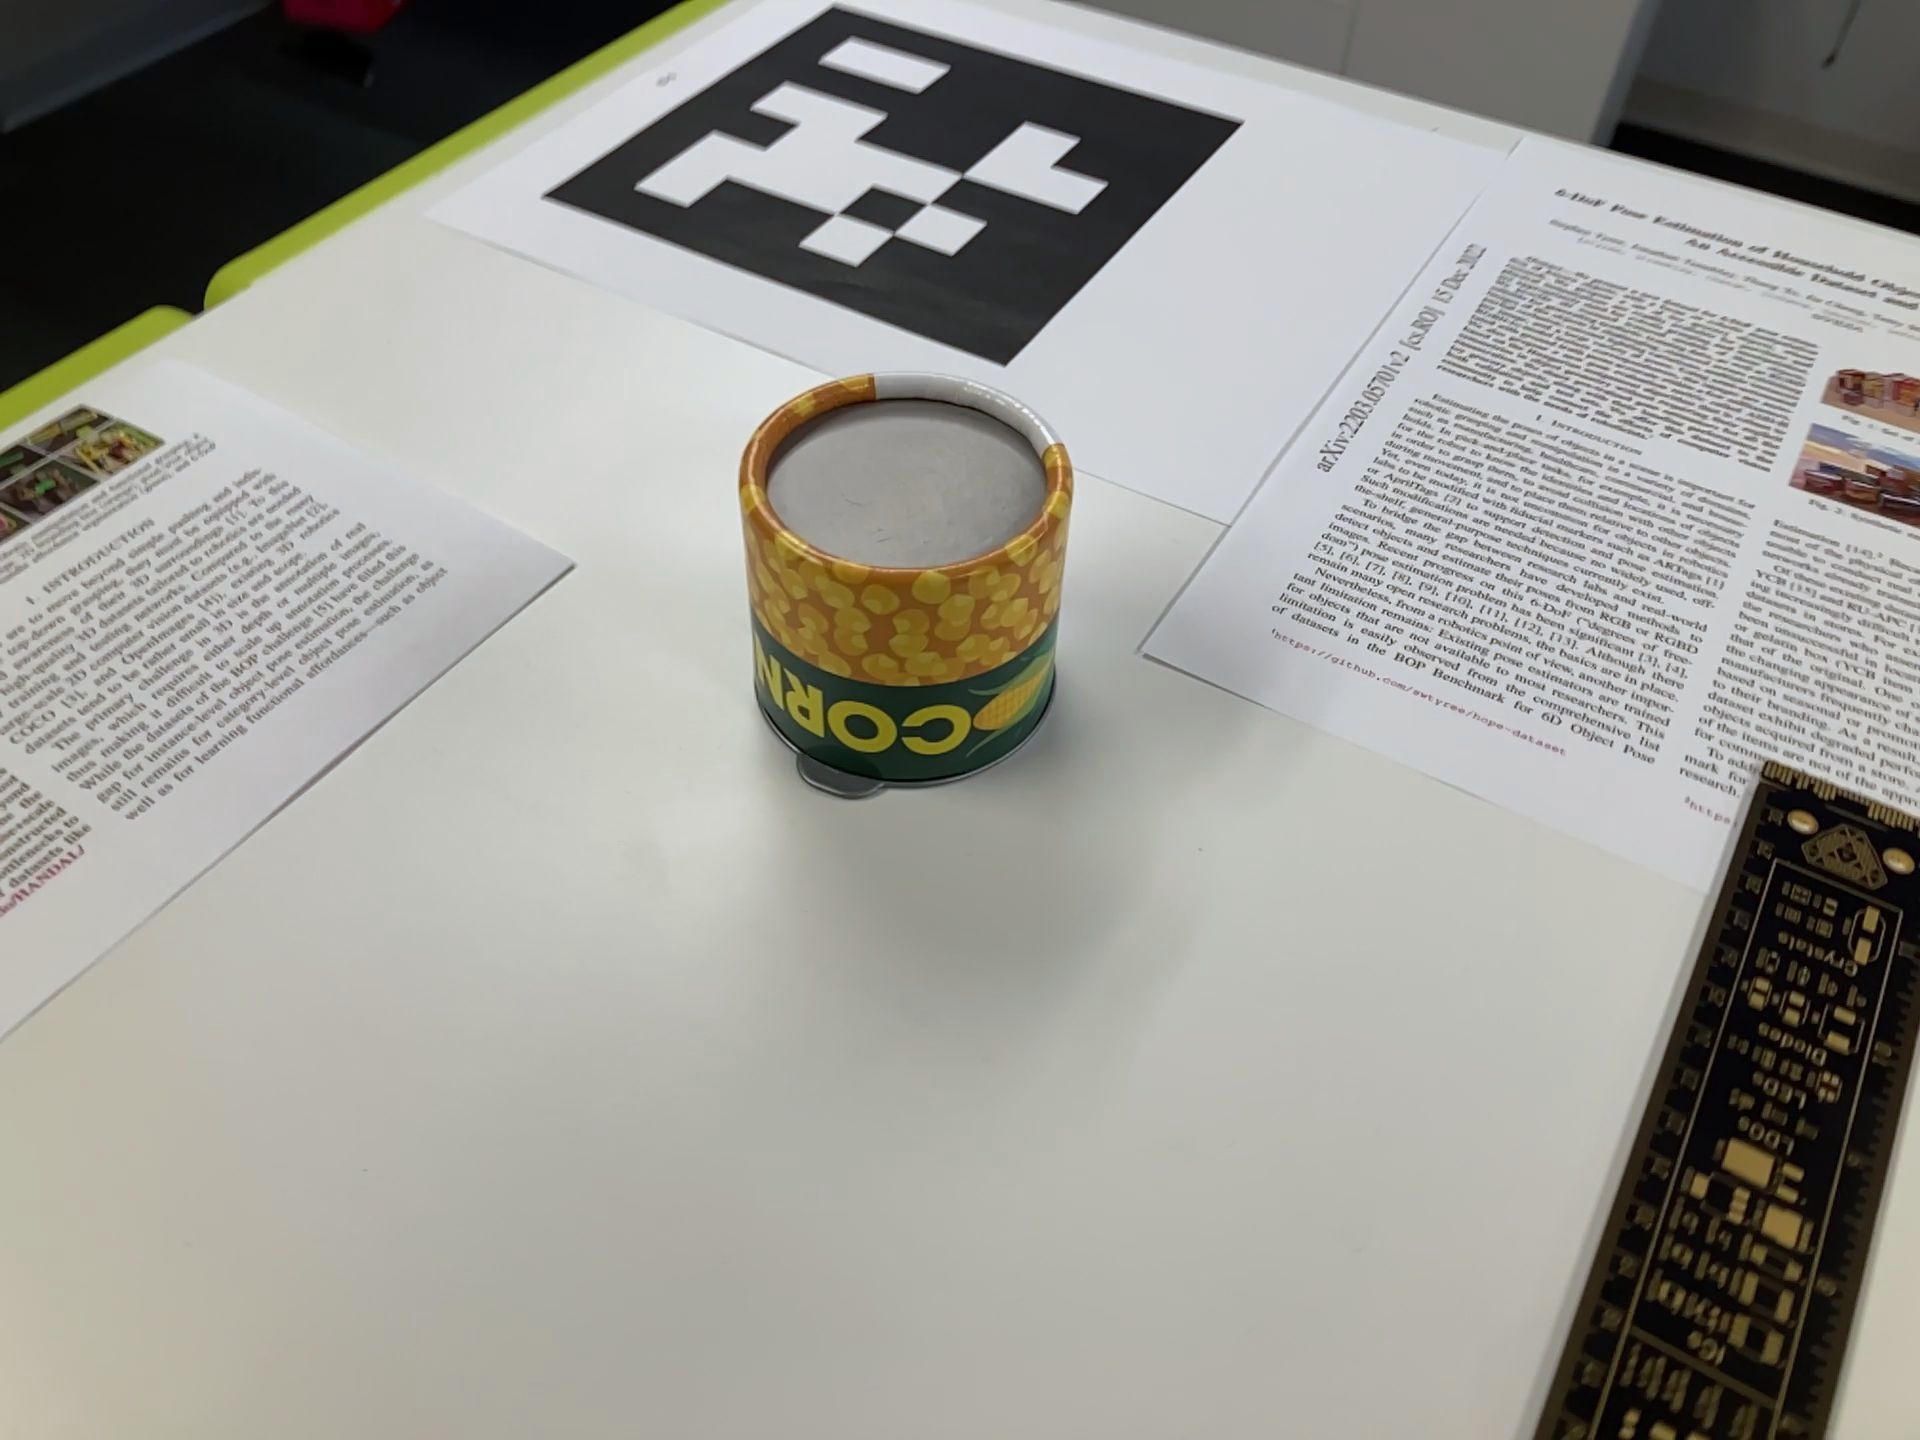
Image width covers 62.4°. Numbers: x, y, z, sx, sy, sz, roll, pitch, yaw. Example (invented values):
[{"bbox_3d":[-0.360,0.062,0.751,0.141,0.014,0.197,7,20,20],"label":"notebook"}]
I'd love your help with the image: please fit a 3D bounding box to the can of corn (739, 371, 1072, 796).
[{"bbox_3d":[-0.013,-0.028,0.327,0.071,0.058,0.071,1,47,-1],"label":"can of corn"}]
